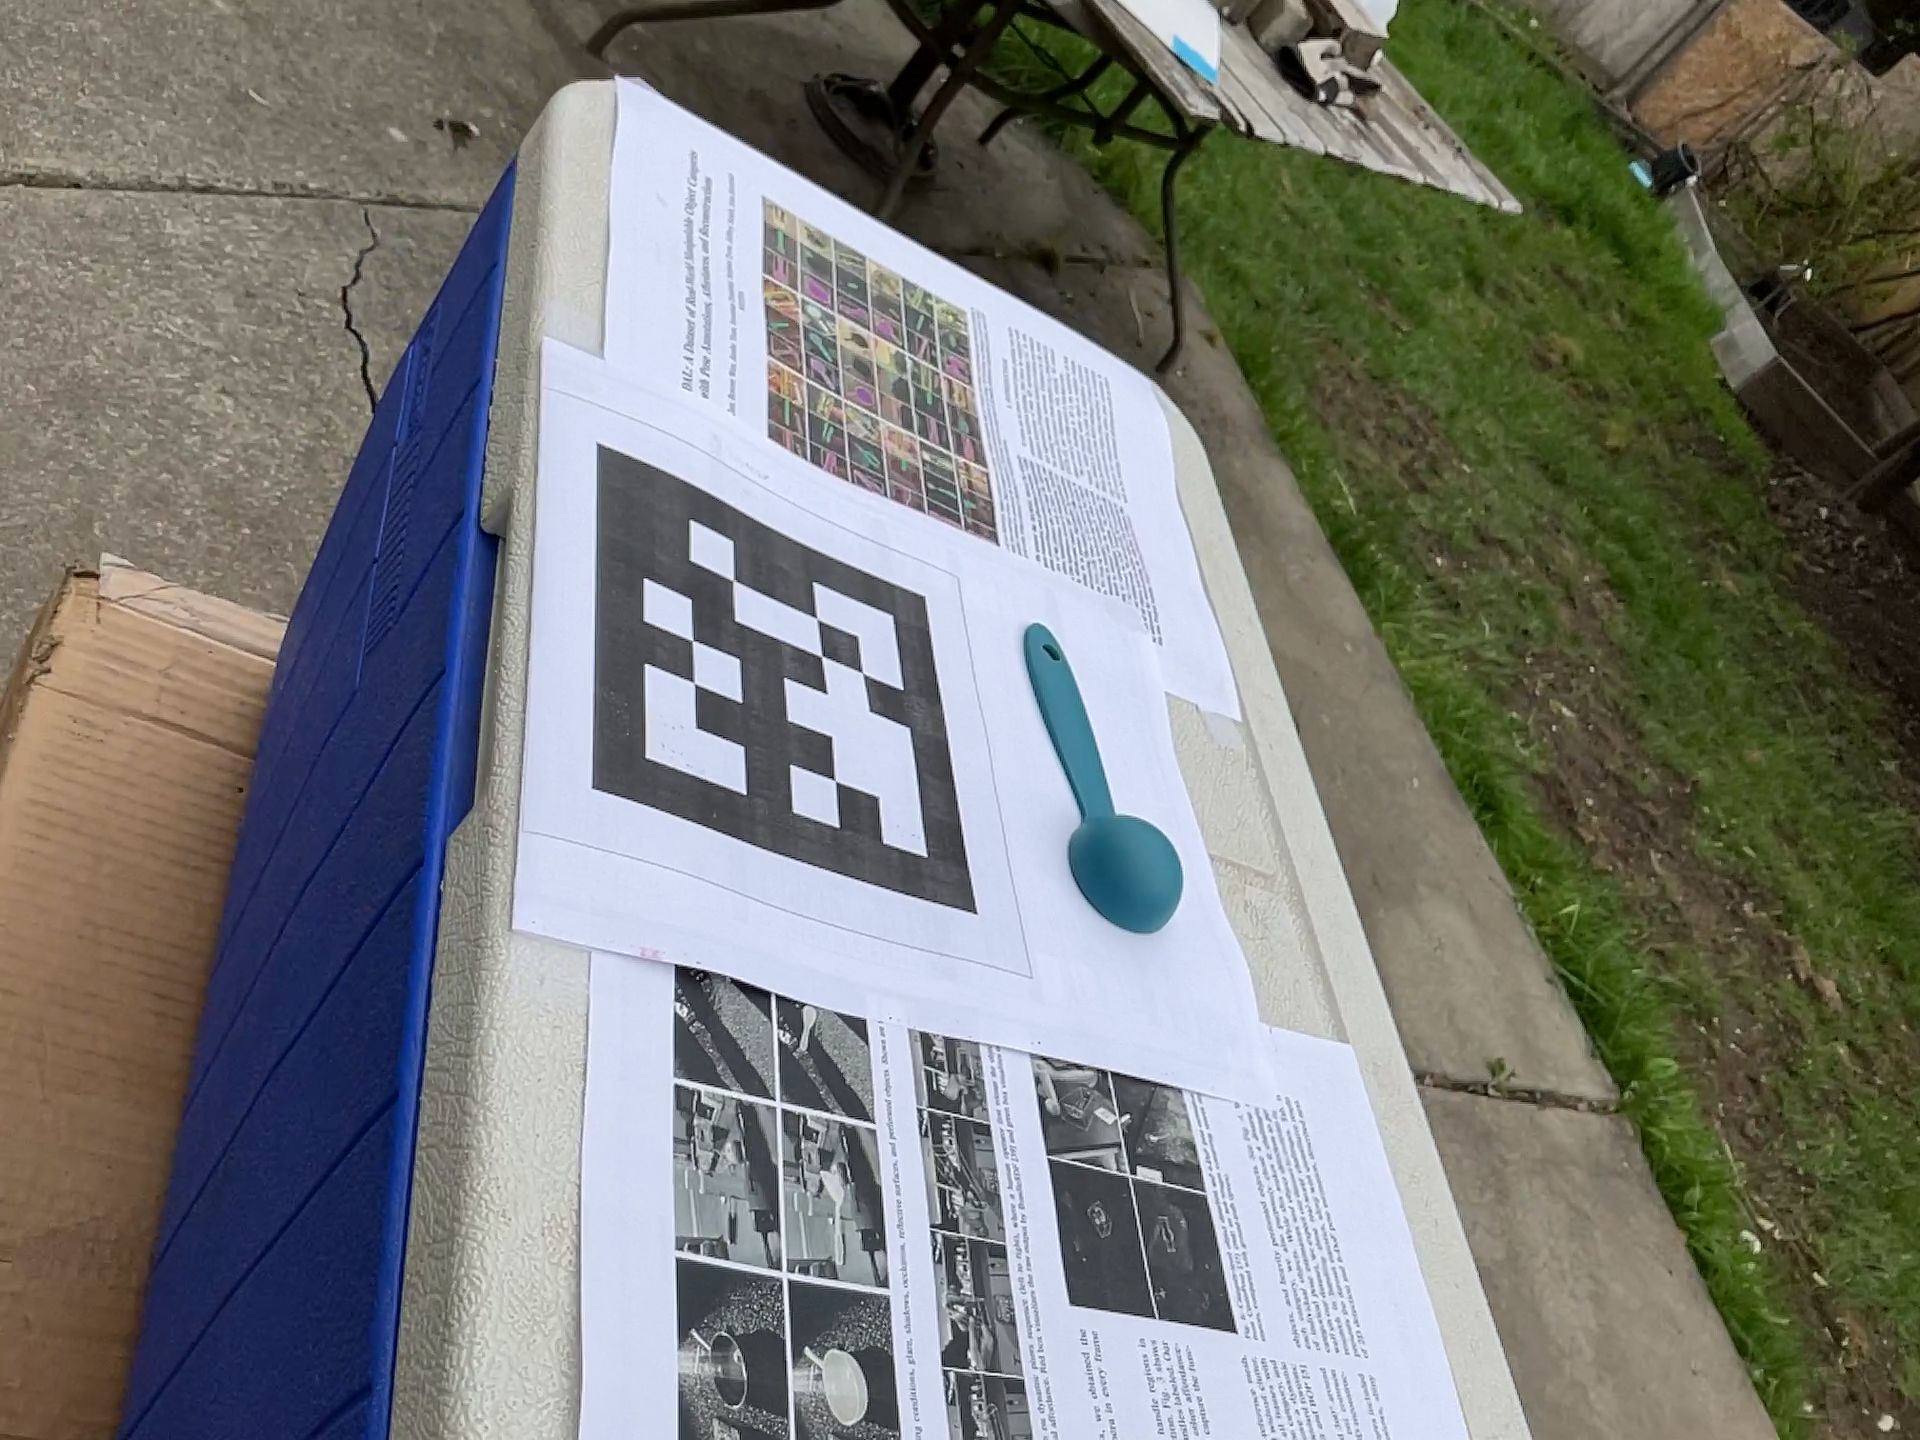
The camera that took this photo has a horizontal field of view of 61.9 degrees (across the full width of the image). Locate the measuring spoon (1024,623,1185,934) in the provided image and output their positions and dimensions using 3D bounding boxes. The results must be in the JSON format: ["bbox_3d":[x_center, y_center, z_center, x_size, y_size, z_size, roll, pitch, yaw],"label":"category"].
[{"bbox_3d":[0.047,0.012,0.545,0.042,0.021,0.129,9,49,-34],"label":"measuring spoon"}]
